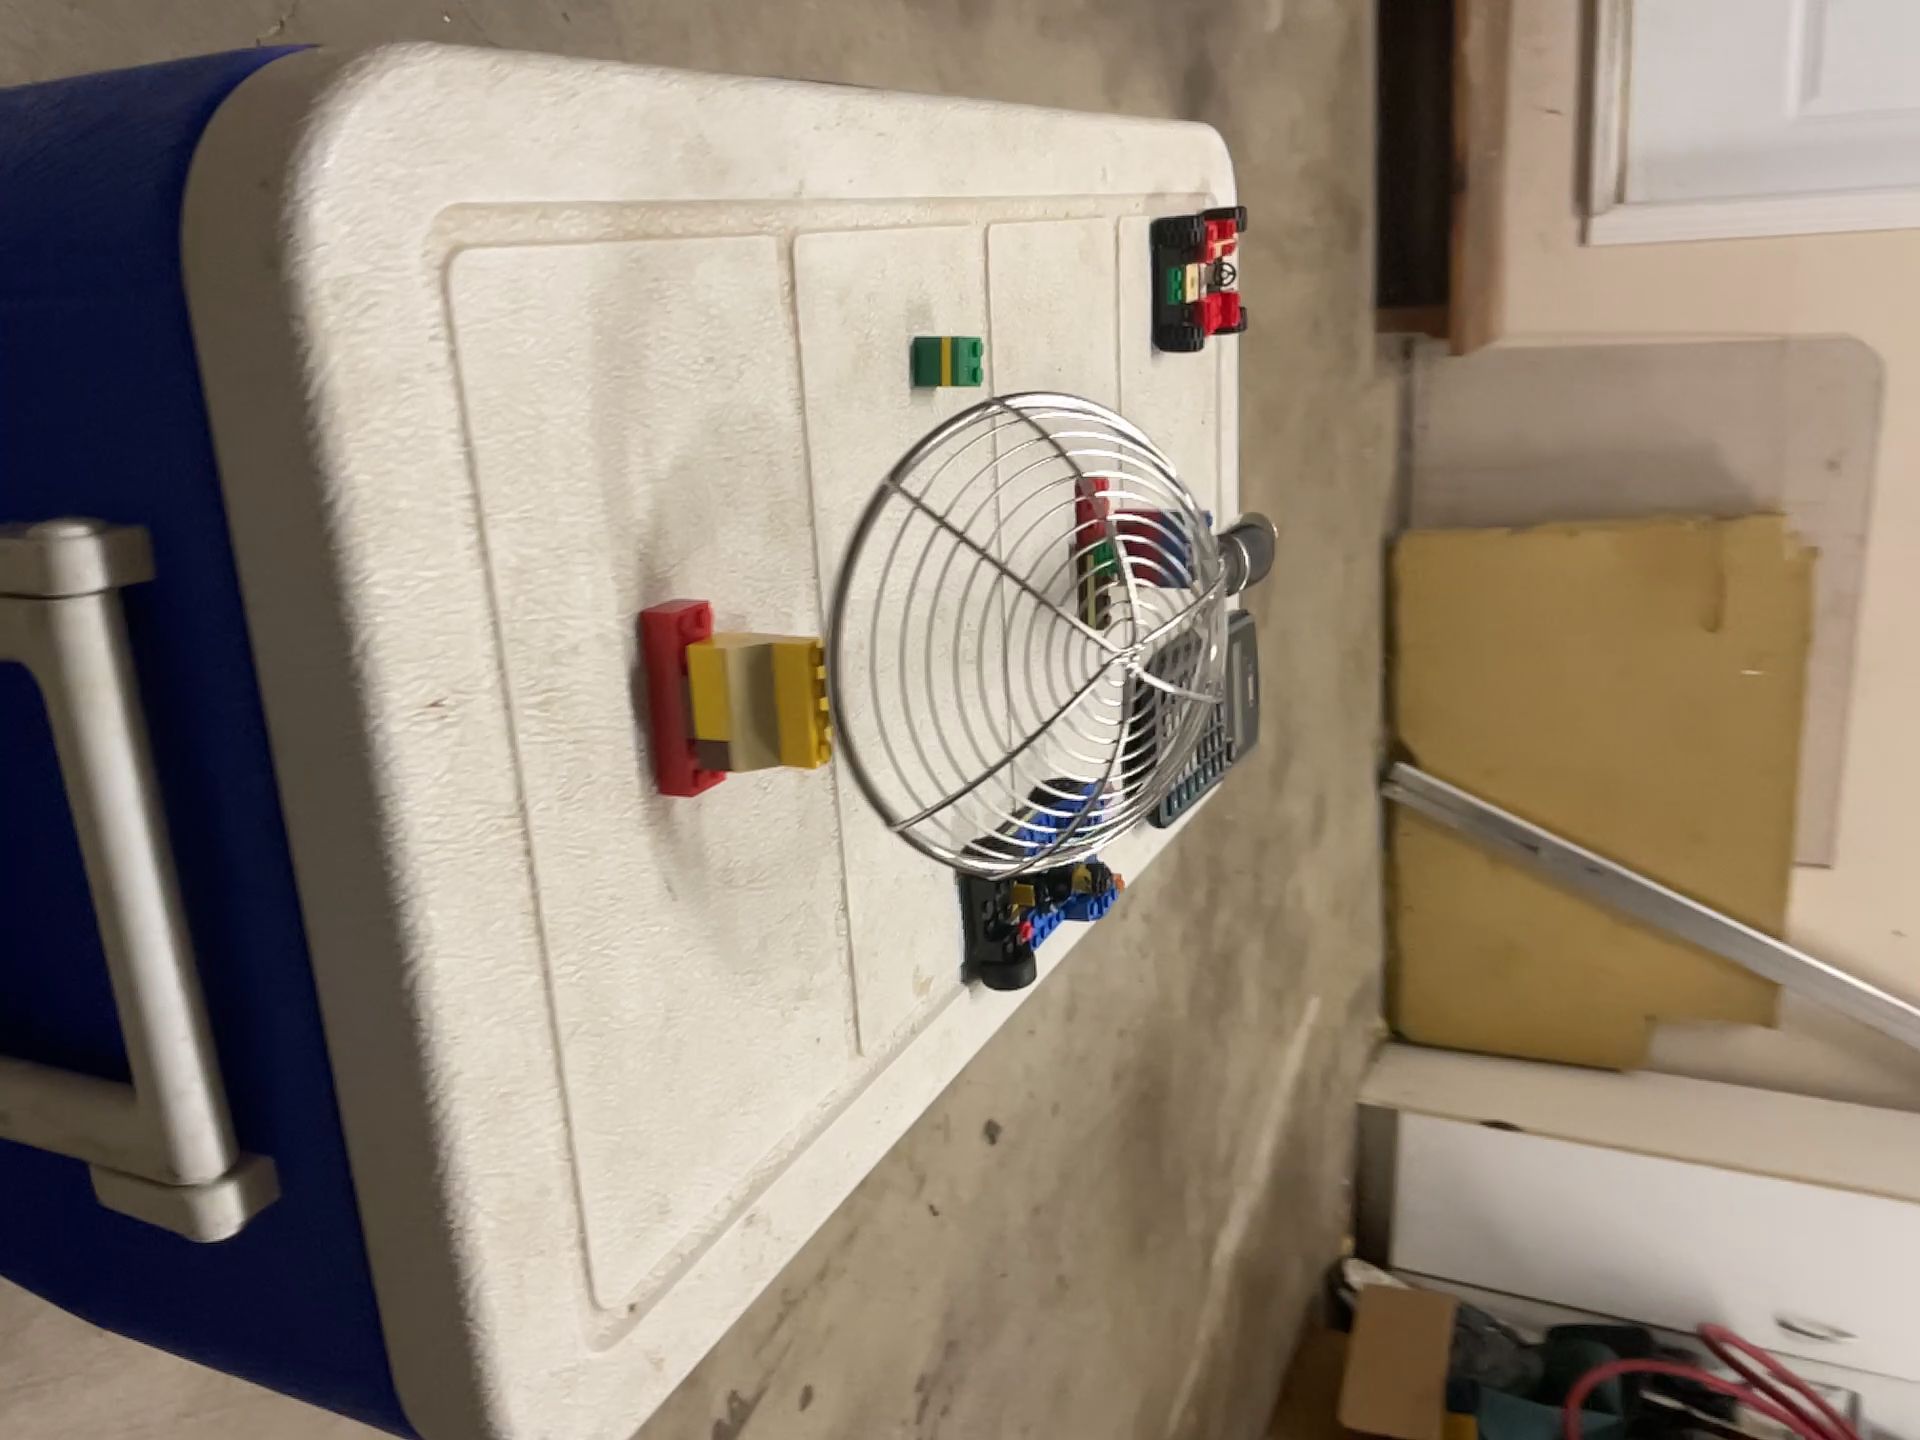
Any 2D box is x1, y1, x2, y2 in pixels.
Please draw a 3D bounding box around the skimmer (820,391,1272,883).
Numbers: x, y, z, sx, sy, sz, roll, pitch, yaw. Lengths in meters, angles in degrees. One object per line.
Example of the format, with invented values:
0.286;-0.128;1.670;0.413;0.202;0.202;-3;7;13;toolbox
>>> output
0.053;-0.047;0.540;0.363;0.090;0.127;-40;130;-72;skimmer
